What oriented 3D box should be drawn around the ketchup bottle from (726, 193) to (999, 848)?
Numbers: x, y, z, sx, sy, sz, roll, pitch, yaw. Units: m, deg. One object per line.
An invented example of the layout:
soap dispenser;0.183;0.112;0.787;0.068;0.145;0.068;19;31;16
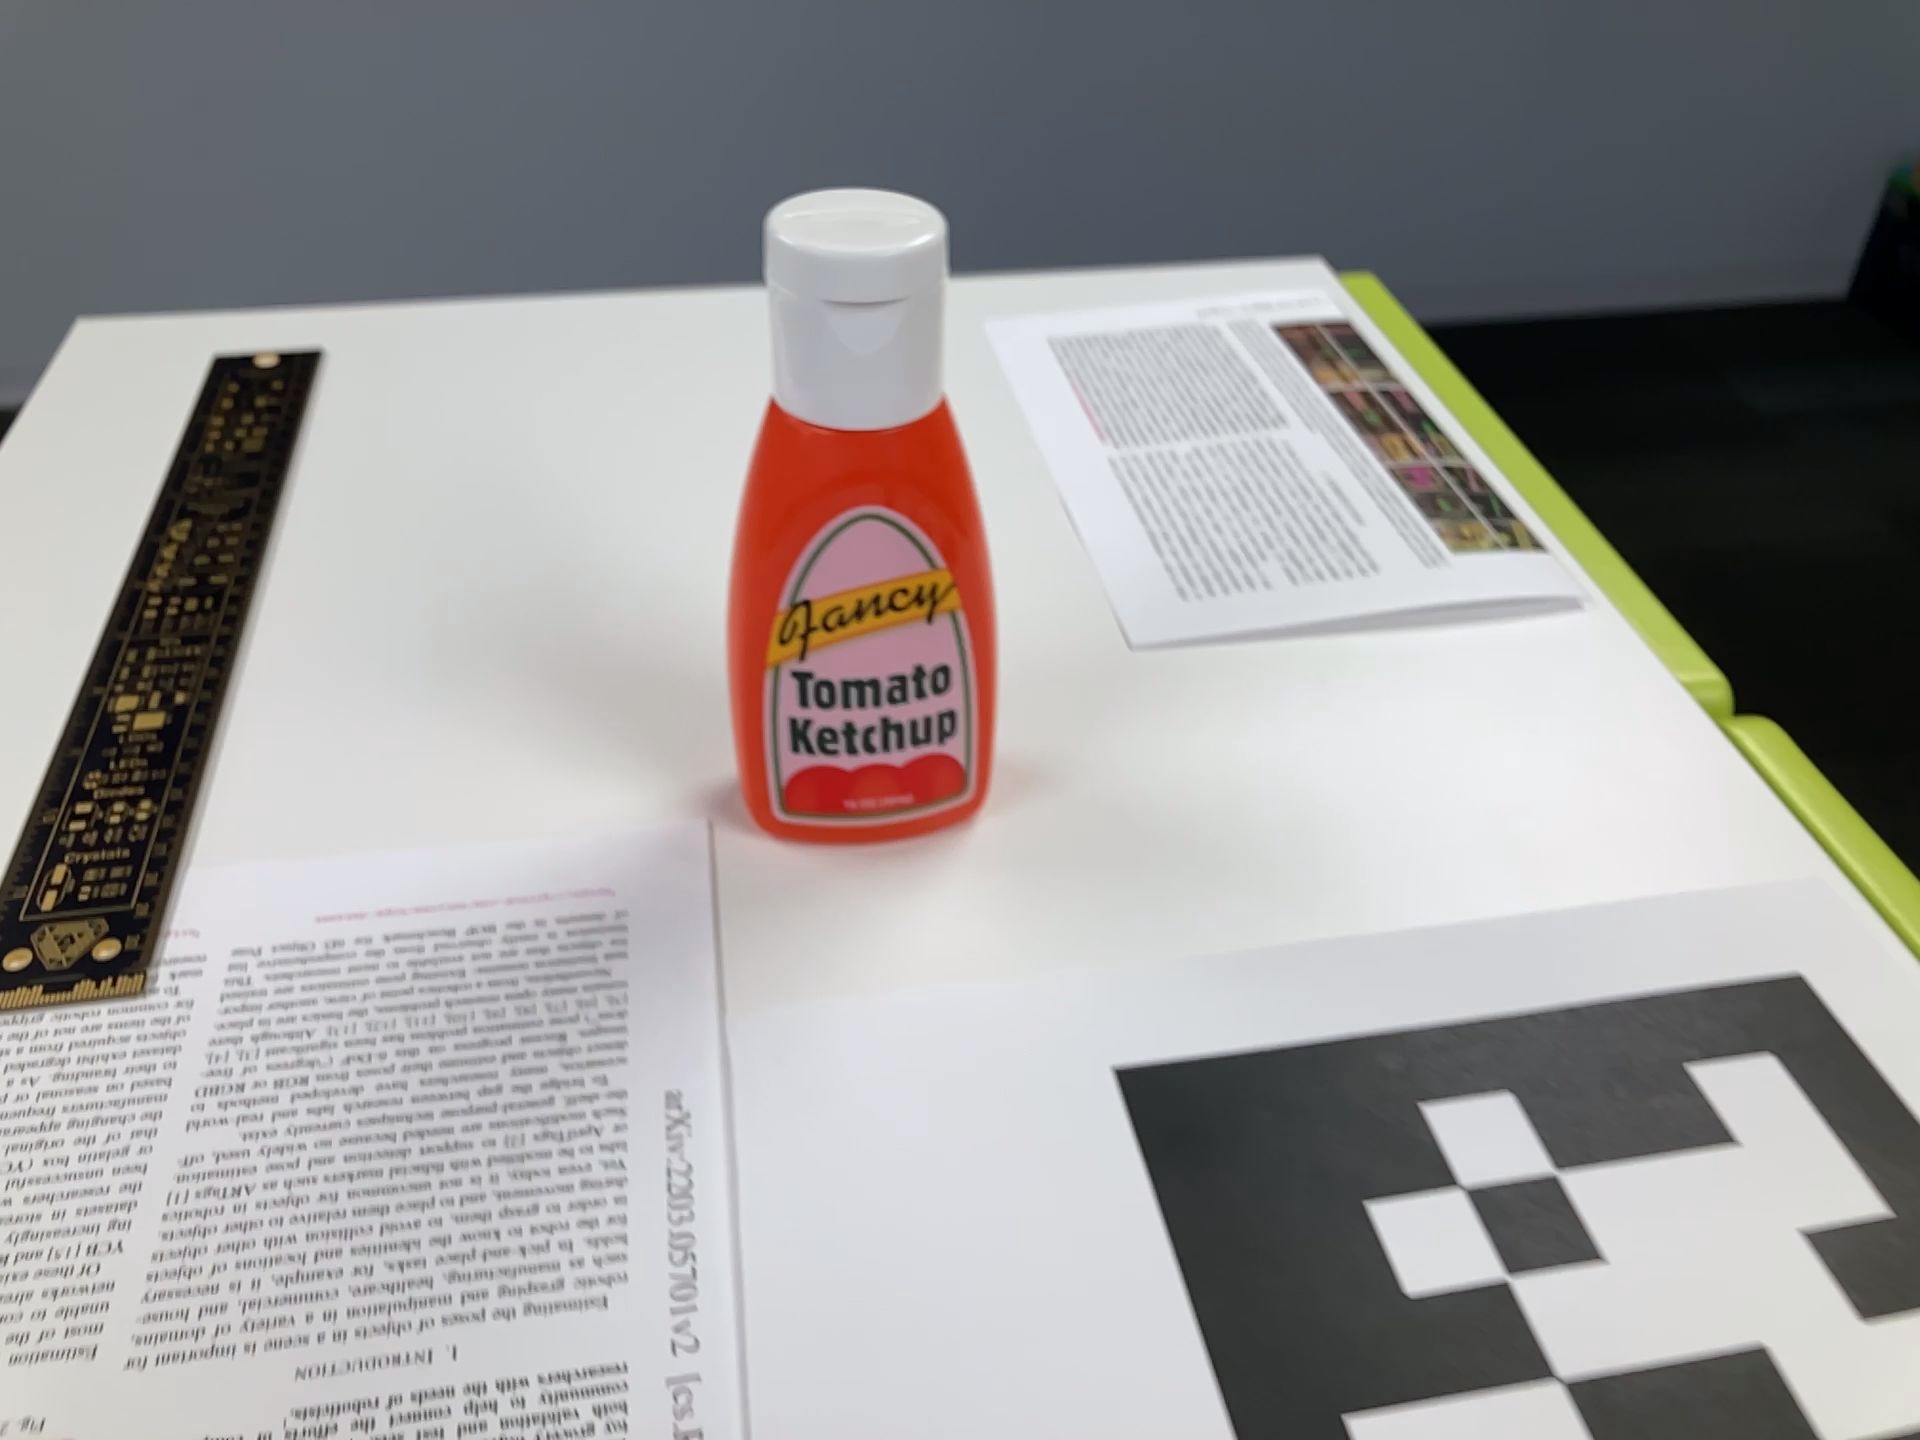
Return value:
ketchup bottle;-0.022;-0.040;0.361;0.065;0.149;0.043;-4;37;-8
